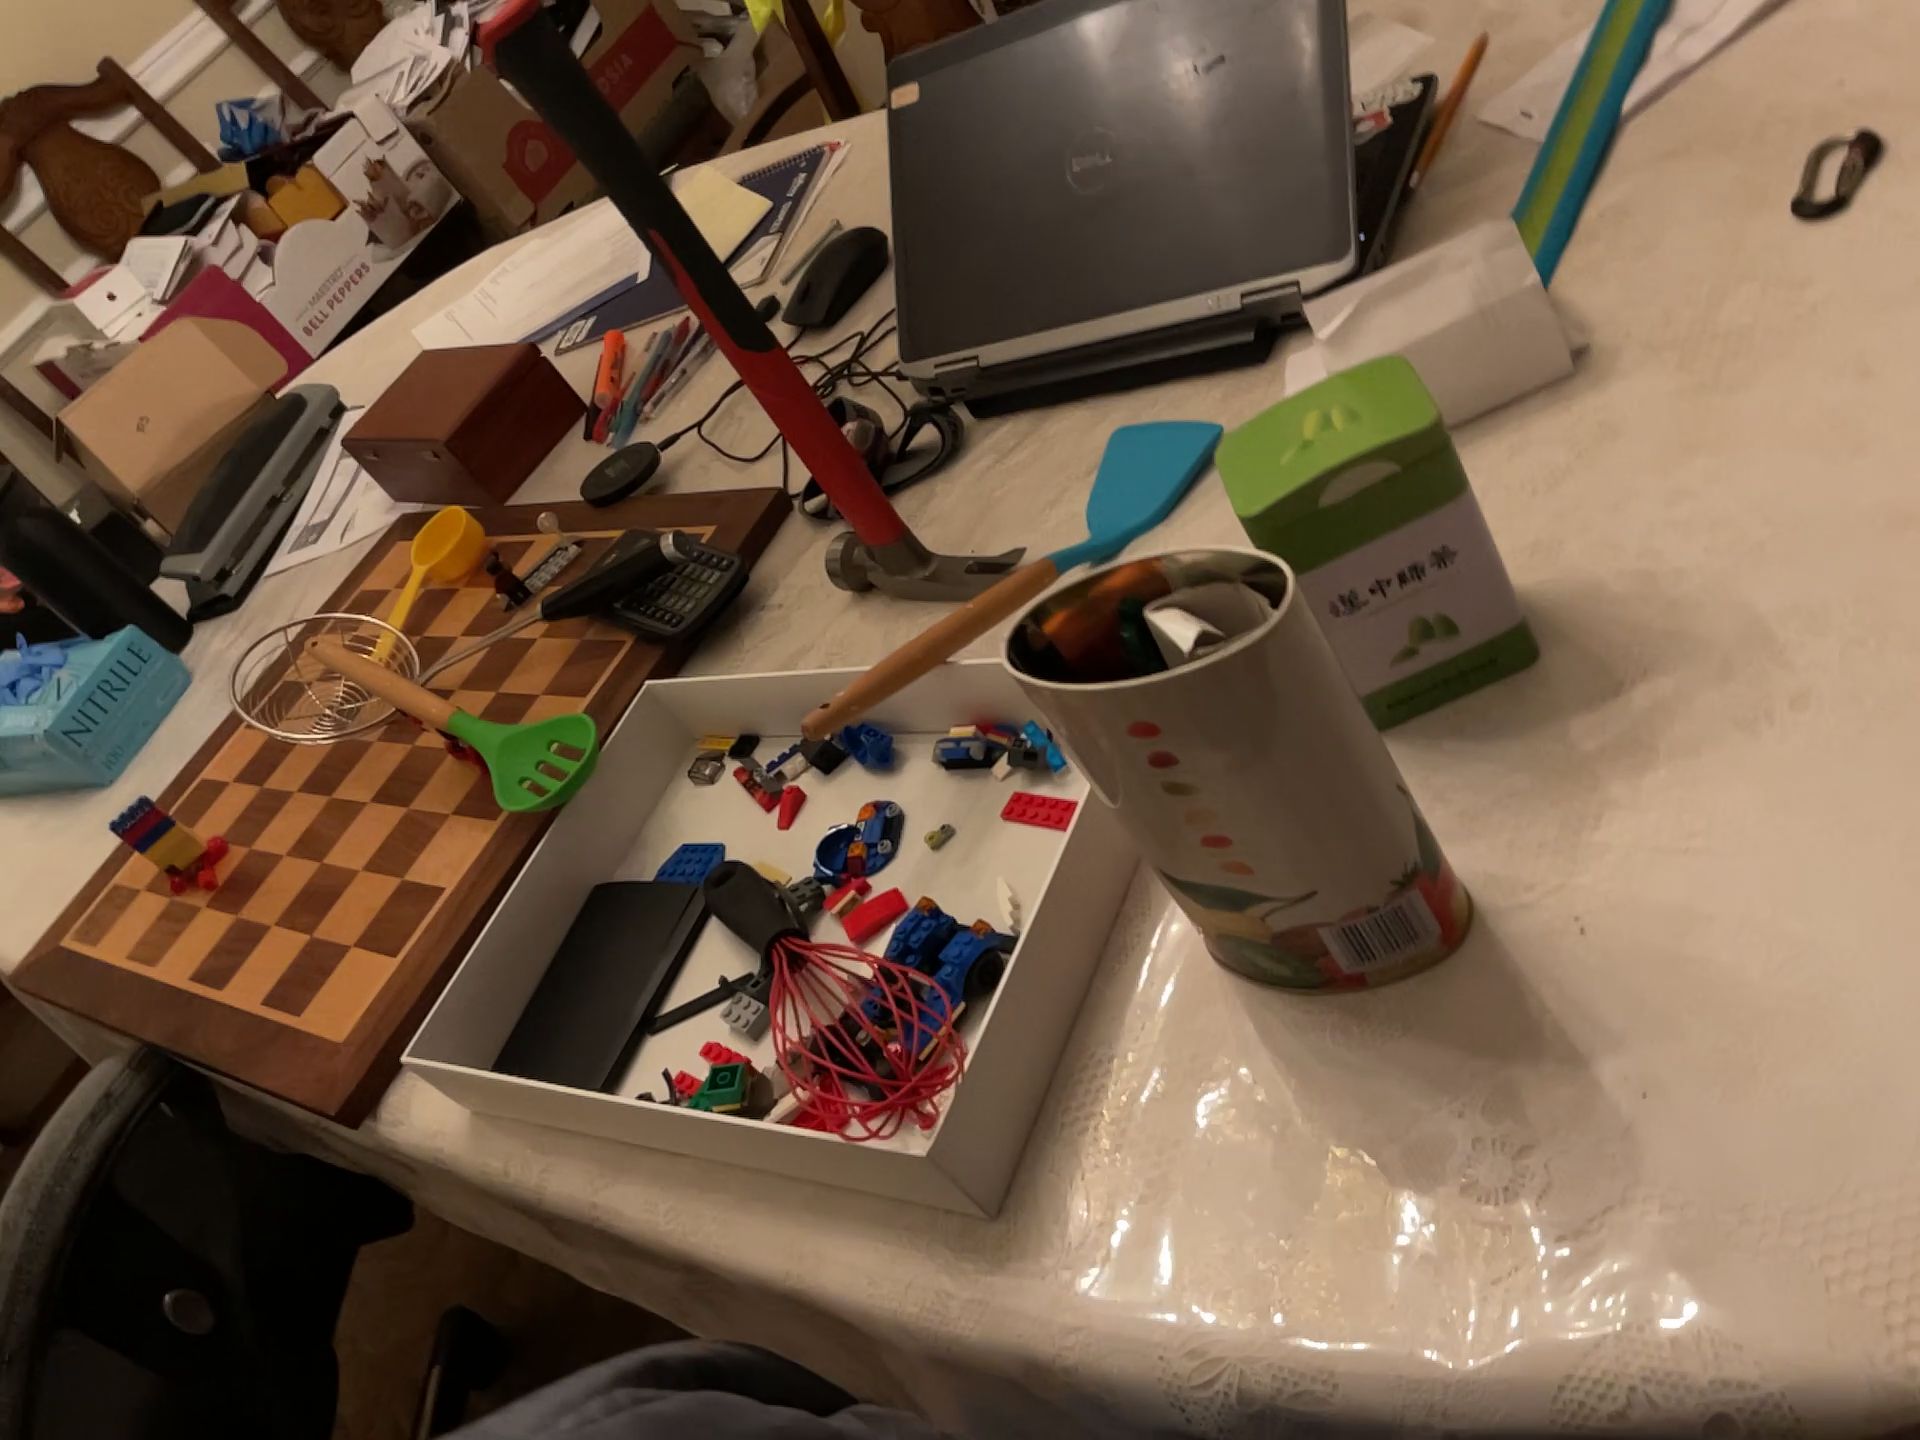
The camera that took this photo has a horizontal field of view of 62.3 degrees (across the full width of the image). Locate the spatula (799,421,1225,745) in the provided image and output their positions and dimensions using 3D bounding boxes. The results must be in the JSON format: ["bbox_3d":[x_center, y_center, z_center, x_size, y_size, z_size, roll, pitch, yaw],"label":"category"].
[{"bbox_3d":[0.027,-0.078,0.839,0.083,0.044,0.317,10,36,43],"label":"spatula"}]

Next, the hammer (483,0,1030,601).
[{"bbox_3d":[-0.105,-0.206,0.844,0.143,0.385,0.038,5,54,43],"label":"hammer"}]

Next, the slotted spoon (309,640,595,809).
[{"bbox_3d":[-0.323,-0.007,0.986,0.314,0.031,0.070,20,66,39],"label":"slotted spoon"}]

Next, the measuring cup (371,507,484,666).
[{"bbox_3d":[-0.423,-0.096,1.256,0.062,0.029,0.156,4,66,38],"label":"measuring cup"}]

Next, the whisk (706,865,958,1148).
[{"bbox_3d":[-0.072,0.114,0.722,0.073,0.073,0.296,-26,20,-15],"label":"whisk"}]

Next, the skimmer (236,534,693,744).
[{"bbox_3d":[-0.346,-0.071,1.095,0.364,0.090,0.127,-21,37,27],"label":"skimmer"}]
